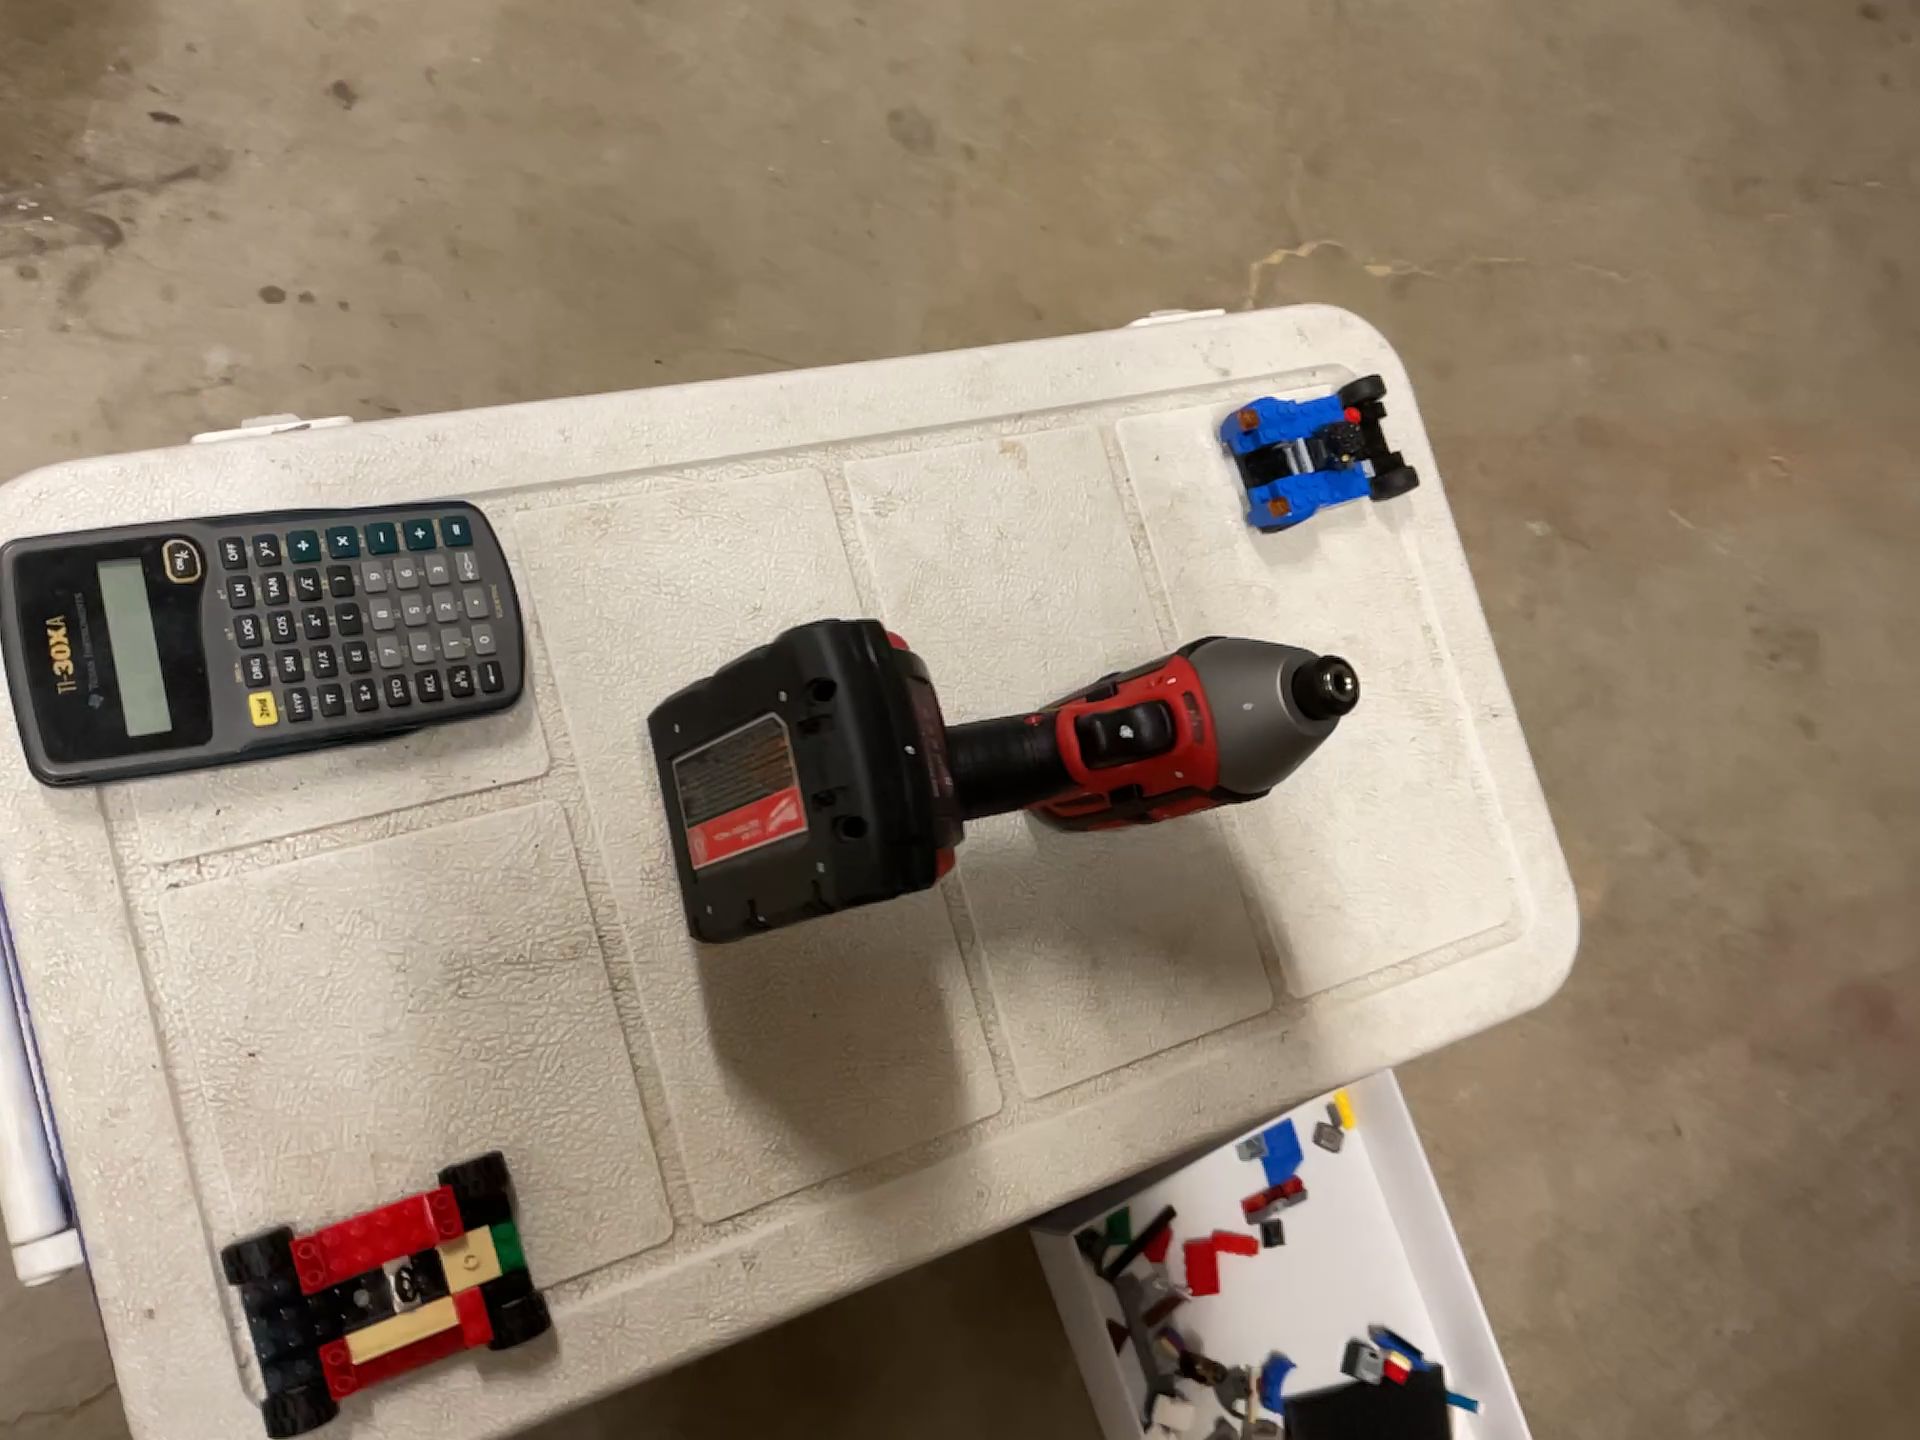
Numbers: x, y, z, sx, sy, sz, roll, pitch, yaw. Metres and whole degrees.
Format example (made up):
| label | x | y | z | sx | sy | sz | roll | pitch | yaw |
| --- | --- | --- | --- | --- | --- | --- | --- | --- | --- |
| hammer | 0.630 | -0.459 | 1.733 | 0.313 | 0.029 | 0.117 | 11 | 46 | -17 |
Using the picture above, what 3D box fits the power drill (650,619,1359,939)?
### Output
| label | x | y | z | sx | sy | sz | roll | pitch | yaw |
| --- | --- | --- | --- | --- | --- | --- | --- | --- | --- |
| power drill | 0.023 | 0.011 | 0.534 | 0.220 | 0.143 | 0.078 | -7 | 81 | -39 |
